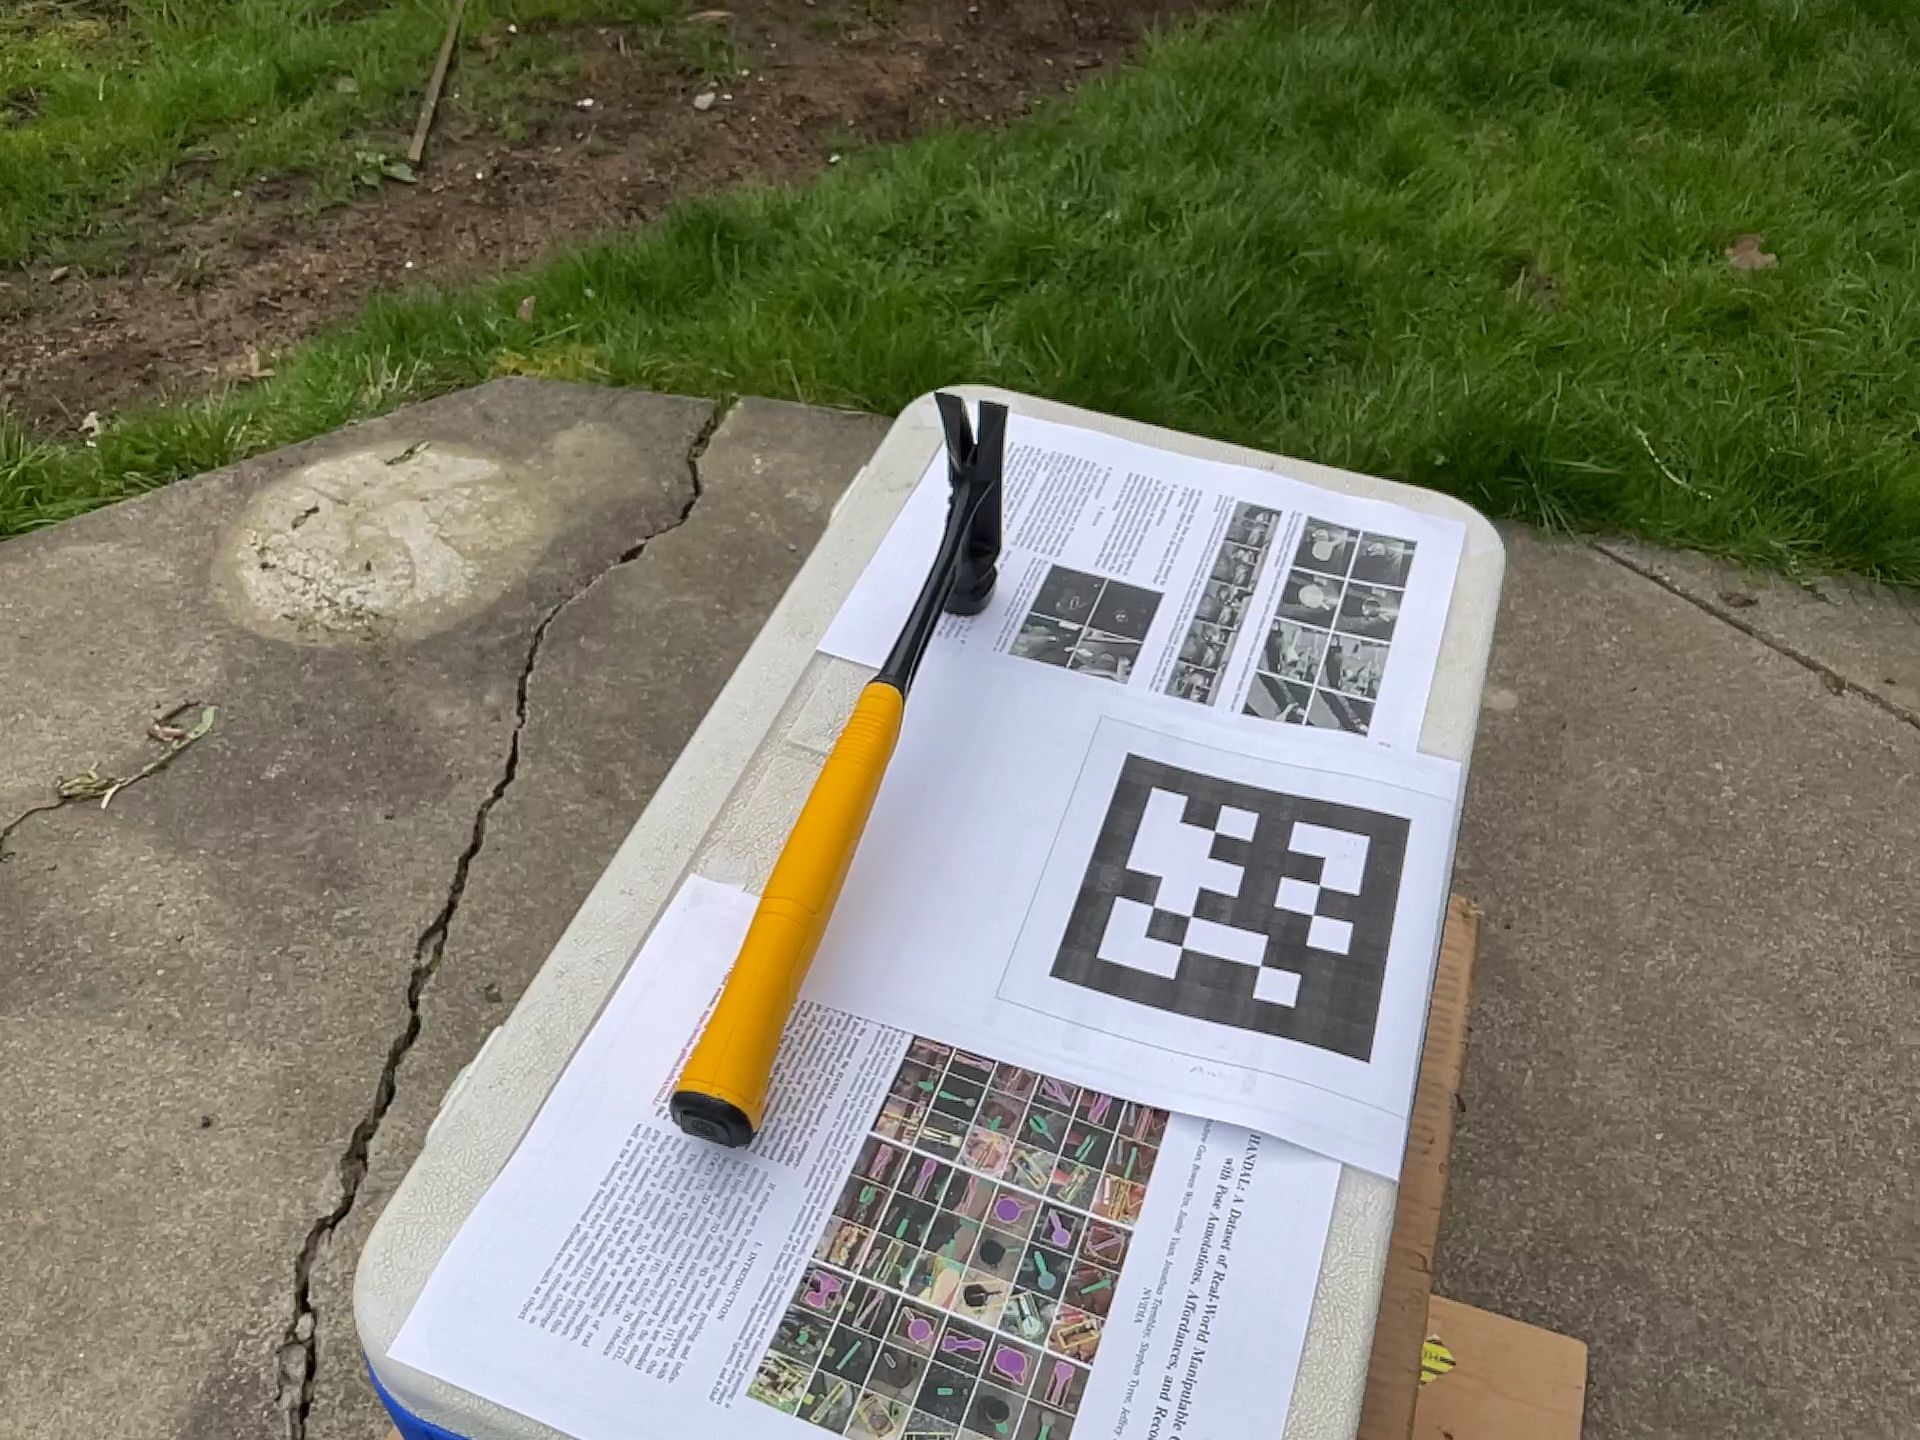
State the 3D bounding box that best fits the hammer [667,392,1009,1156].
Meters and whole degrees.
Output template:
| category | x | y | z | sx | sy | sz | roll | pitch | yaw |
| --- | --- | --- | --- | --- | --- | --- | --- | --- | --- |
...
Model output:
| category | x | y | z | sx | sy | sz | roll | pitch | yaw |
| --- | --- | --- | --- | --- | --- | --- | --- | --- | --- |
| hammer | -0.041 | 0.015 | 0.652 | 0.034 | 0.127 | 0.337 | 14 | 53 | 10 |
